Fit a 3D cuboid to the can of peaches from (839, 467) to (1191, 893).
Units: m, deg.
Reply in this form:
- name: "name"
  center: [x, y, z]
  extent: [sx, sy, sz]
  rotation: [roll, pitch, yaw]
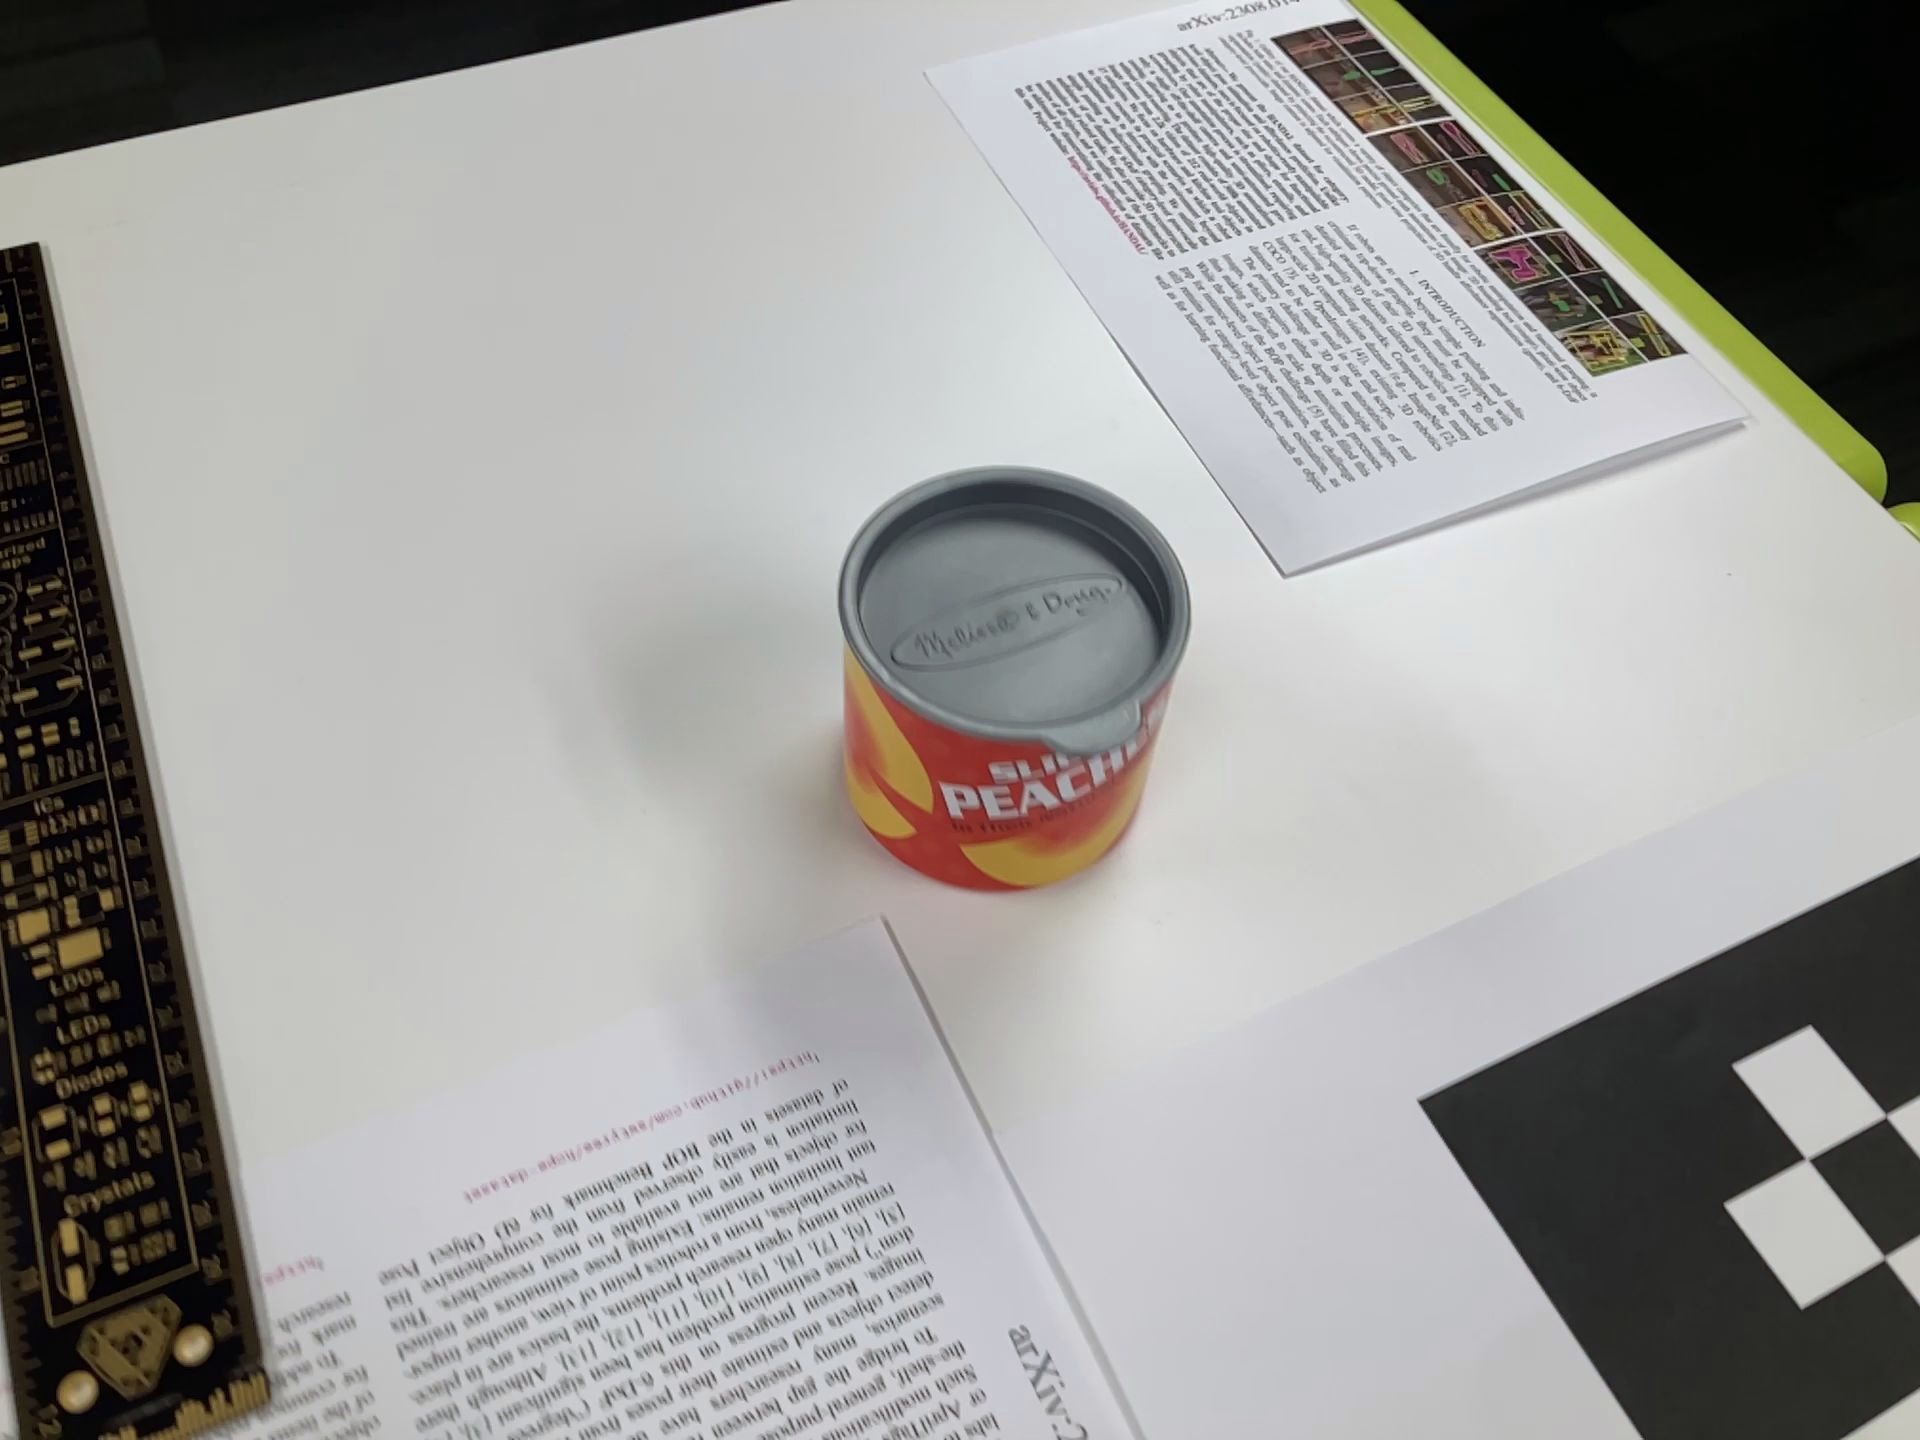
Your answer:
- name: "can of peaches"
  center: [0.010, -0.005, 0.318]
  extent: [0.071, 0.058, 0.071]
  rotation: [2, 55, -3]
